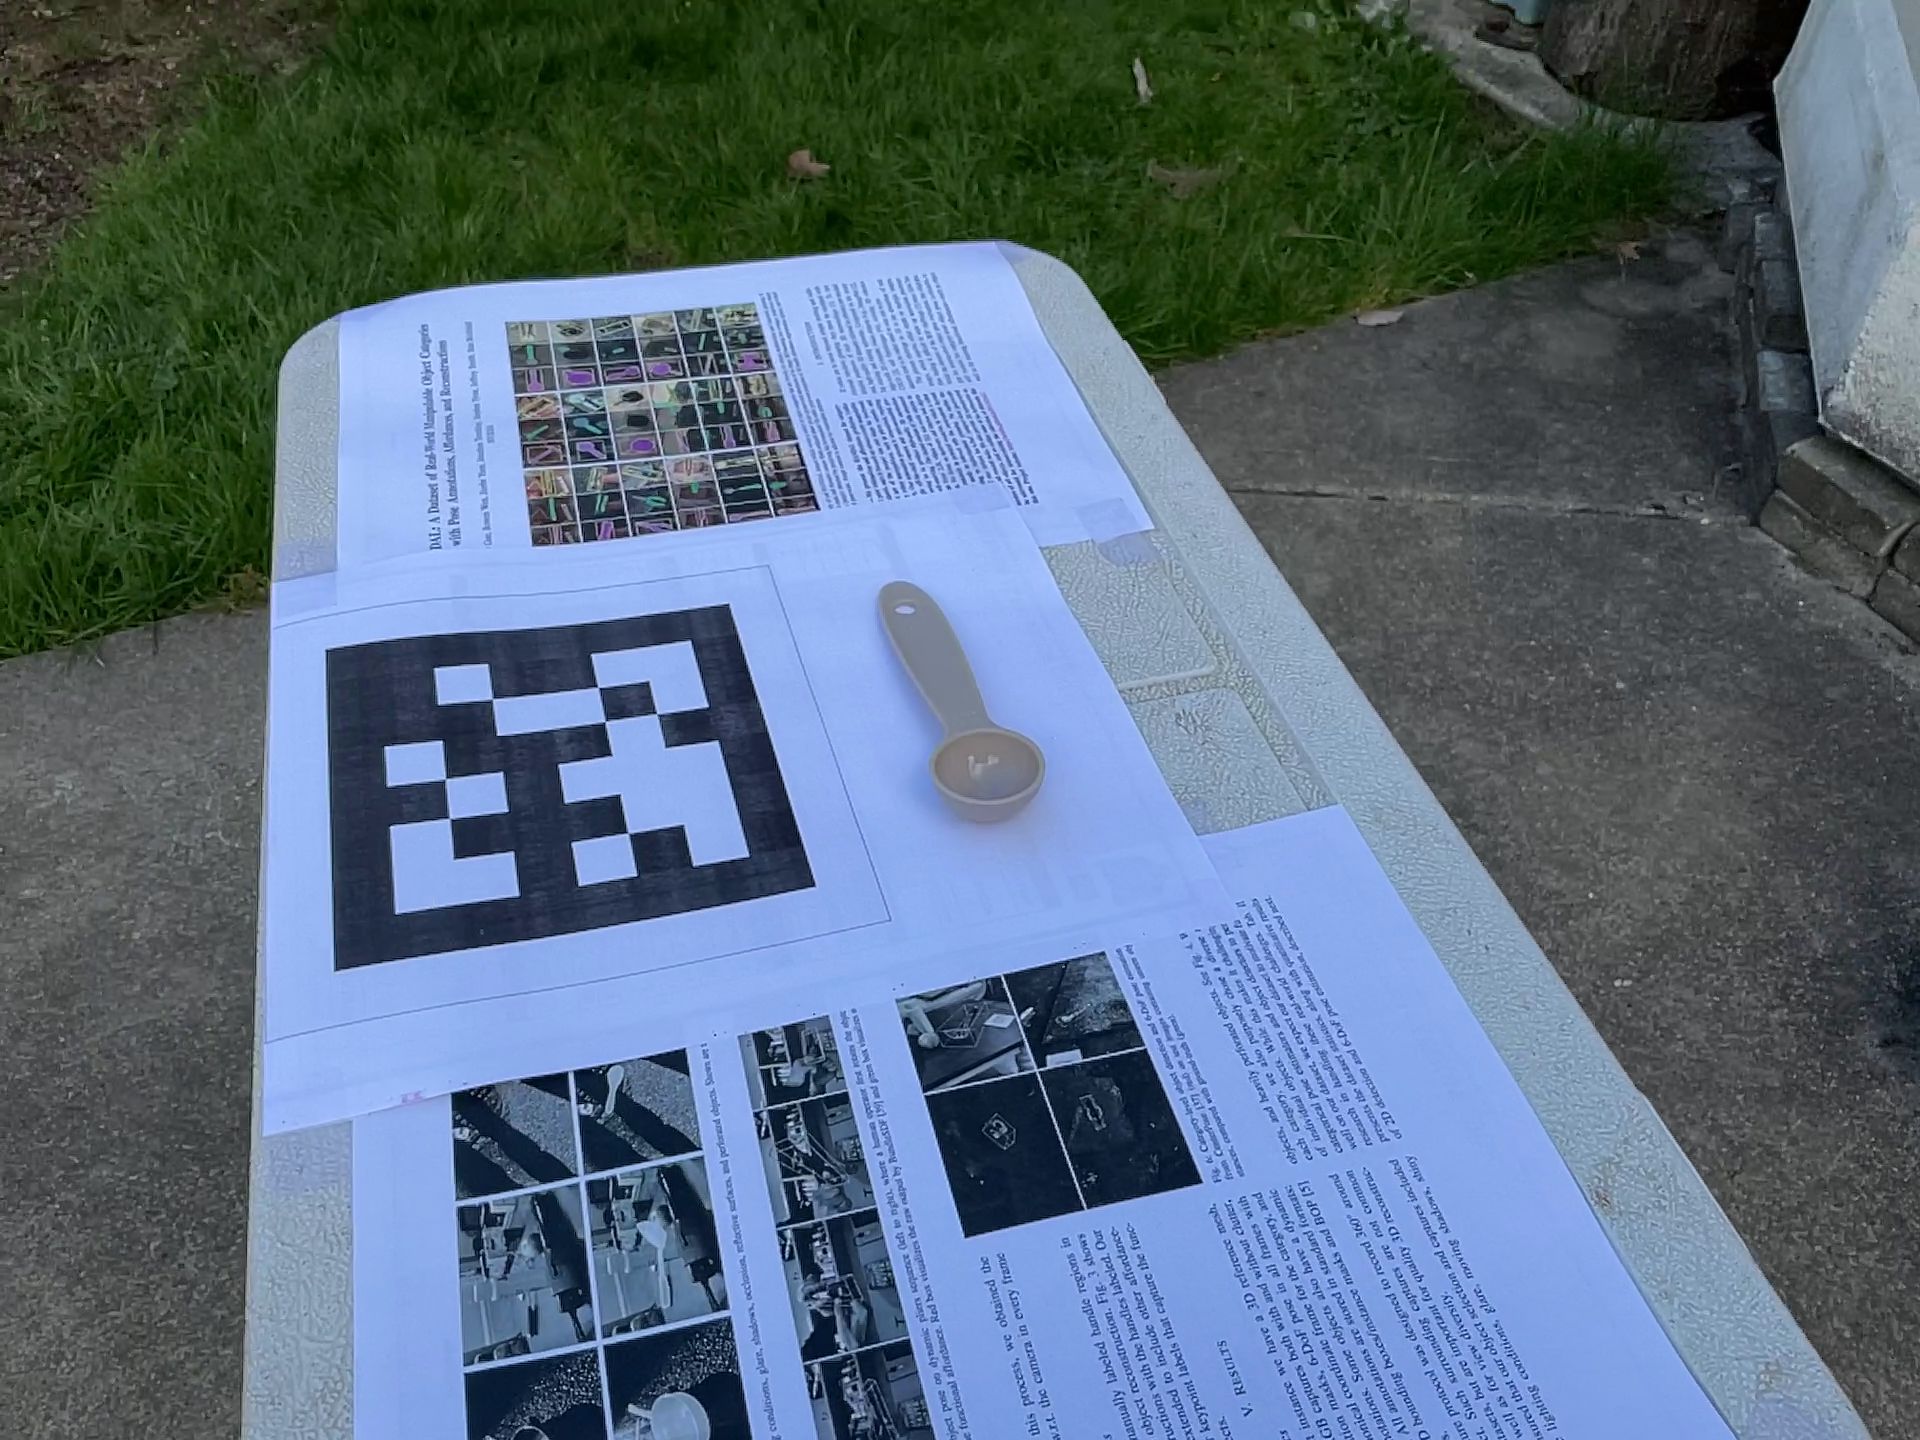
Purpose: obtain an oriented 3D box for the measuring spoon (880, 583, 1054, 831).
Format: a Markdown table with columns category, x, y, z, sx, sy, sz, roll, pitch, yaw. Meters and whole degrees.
| category | x | y | z | sx | sy | sz | roll | pitch | yaw |
| --- | --- | --- | --- | --- | --- | --- | --- | --- | --- |
| measuring spoon | -0.003 | -0.005 | 0.493 | 0.034 | 0.018 | 0.124 | -11 | 38 | -12 |
